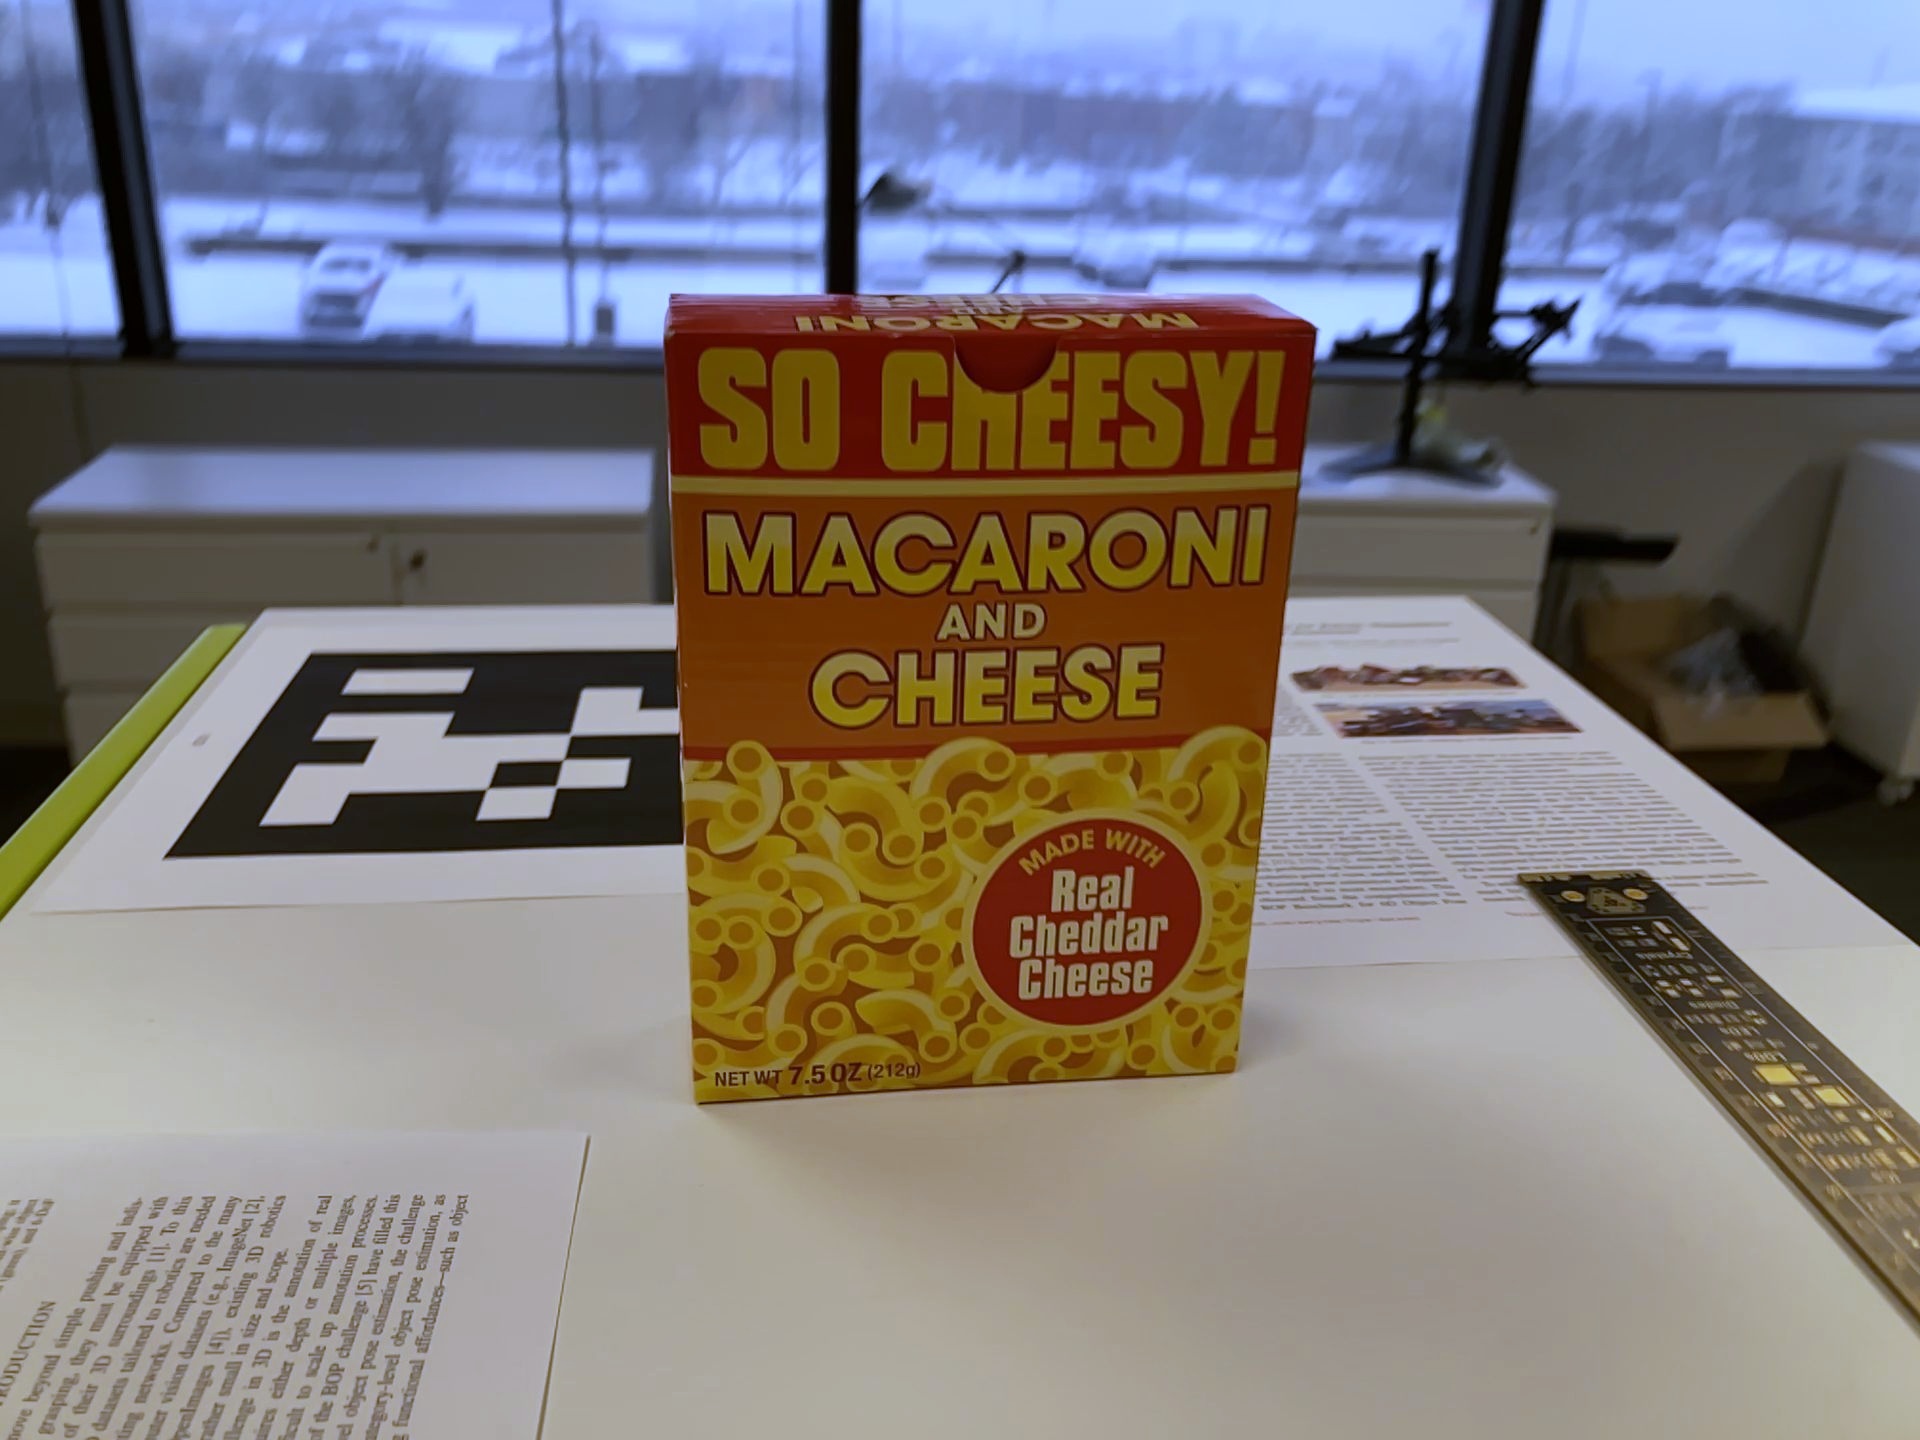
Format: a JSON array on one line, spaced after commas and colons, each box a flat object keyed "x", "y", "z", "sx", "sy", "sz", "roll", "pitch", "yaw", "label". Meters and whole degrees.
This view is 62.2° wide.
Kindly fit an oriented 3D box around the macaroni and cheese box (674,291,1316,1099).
[{"x": 0.004, "y": -0.003, "z": 0.339, "sx": 0.124, "sy": 0.166, "sz": 0.040, "roll": -2, "pitch": 22, "yaw": -10, "label": "macaroni and cheese box"}]
